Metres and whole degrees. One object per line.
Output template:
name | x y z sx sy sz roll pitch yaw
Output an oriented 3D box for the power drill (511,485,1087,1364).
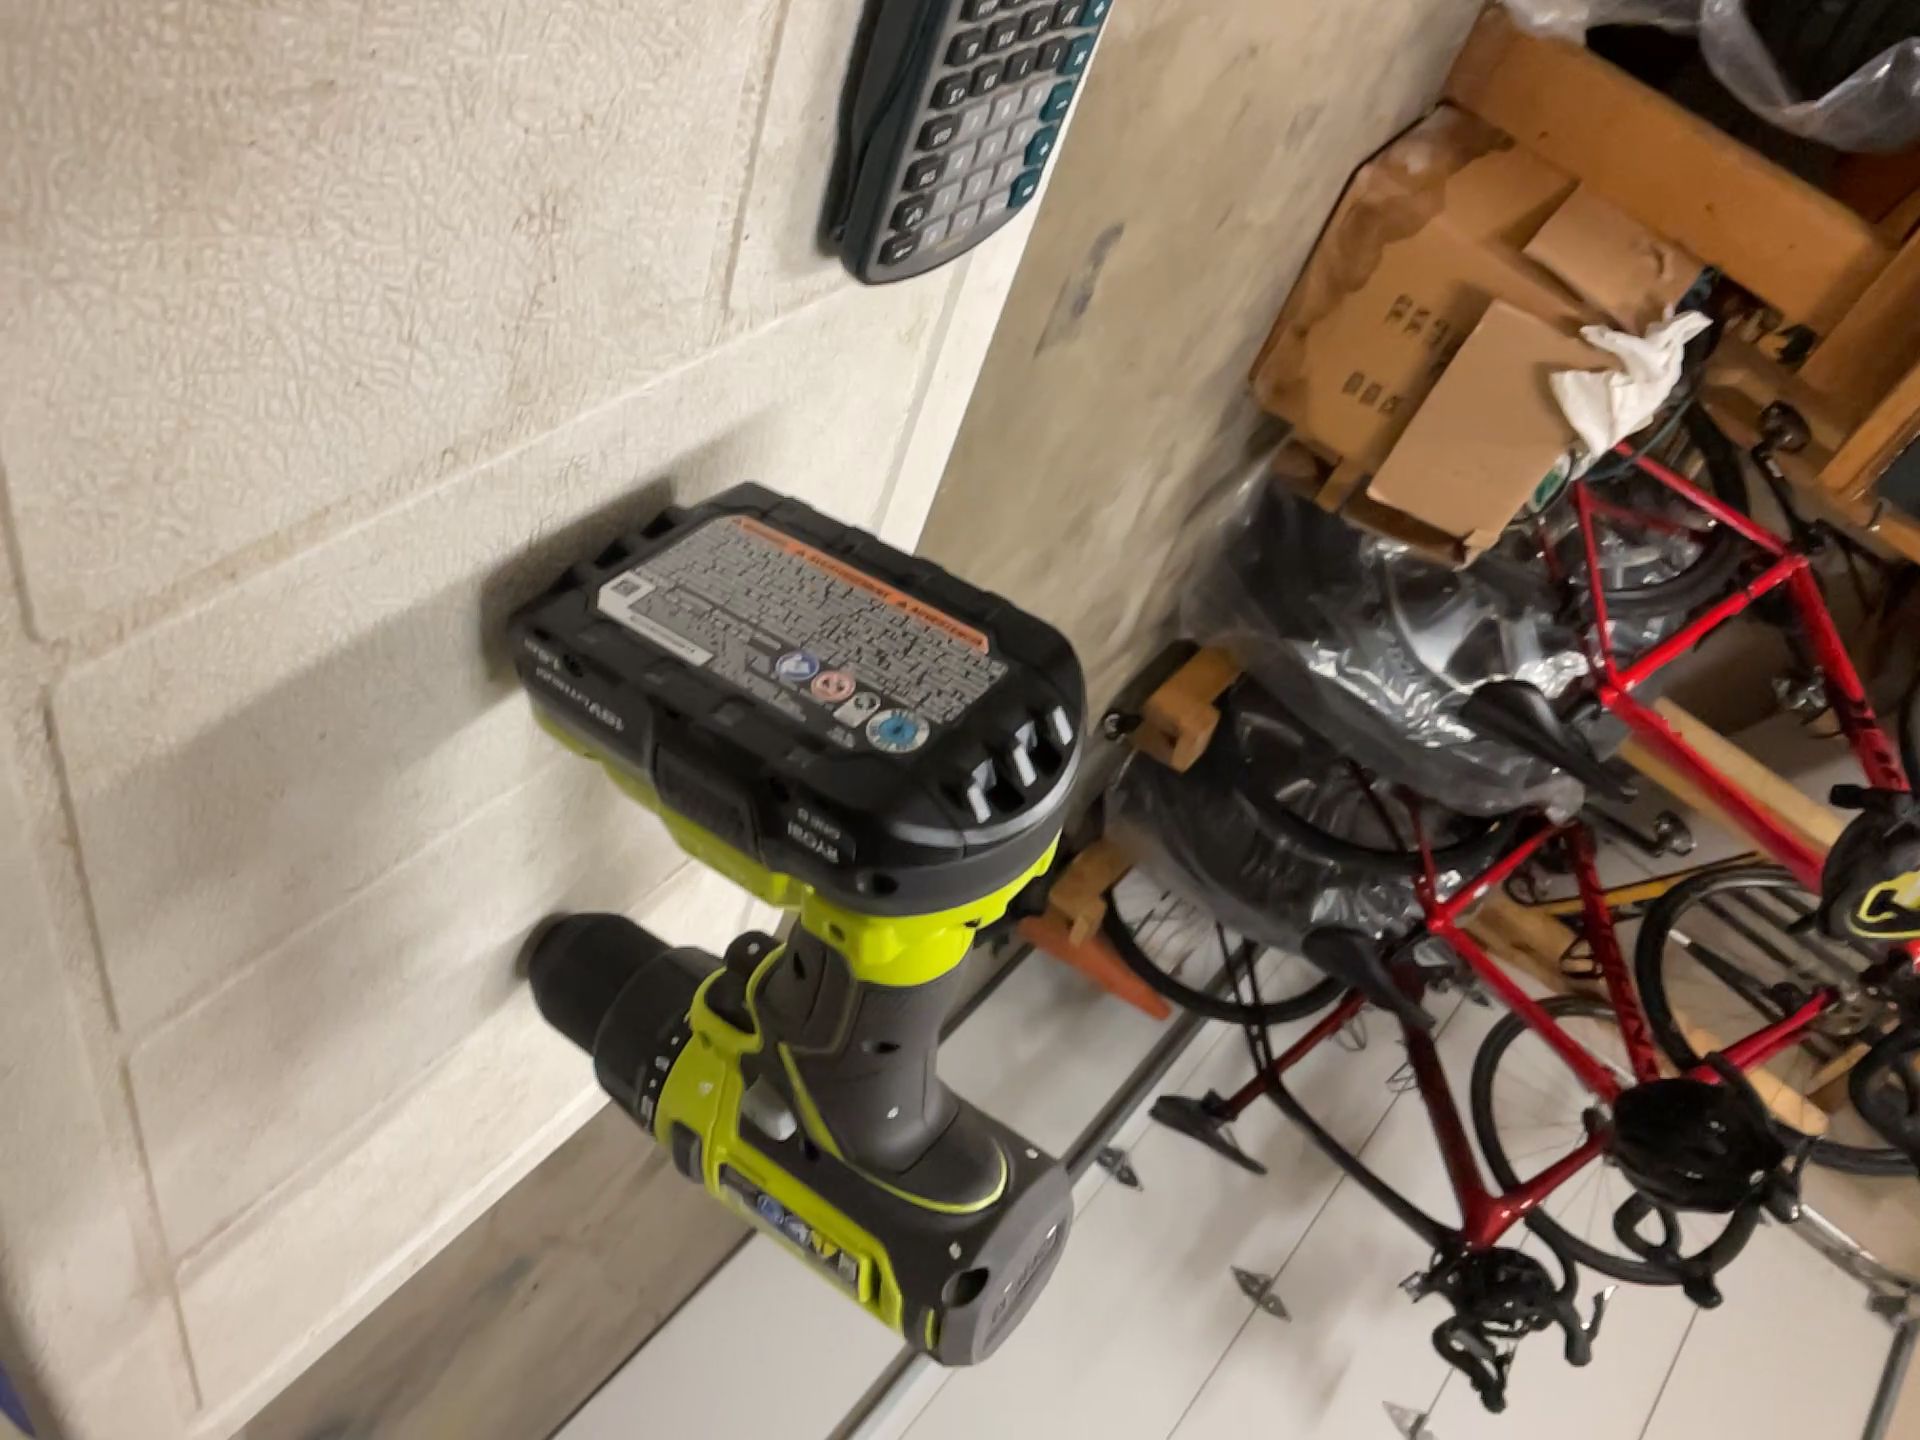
power drill | -0.054 0.058 0.436 0.080 0.190 0.228 -41 148 -38
